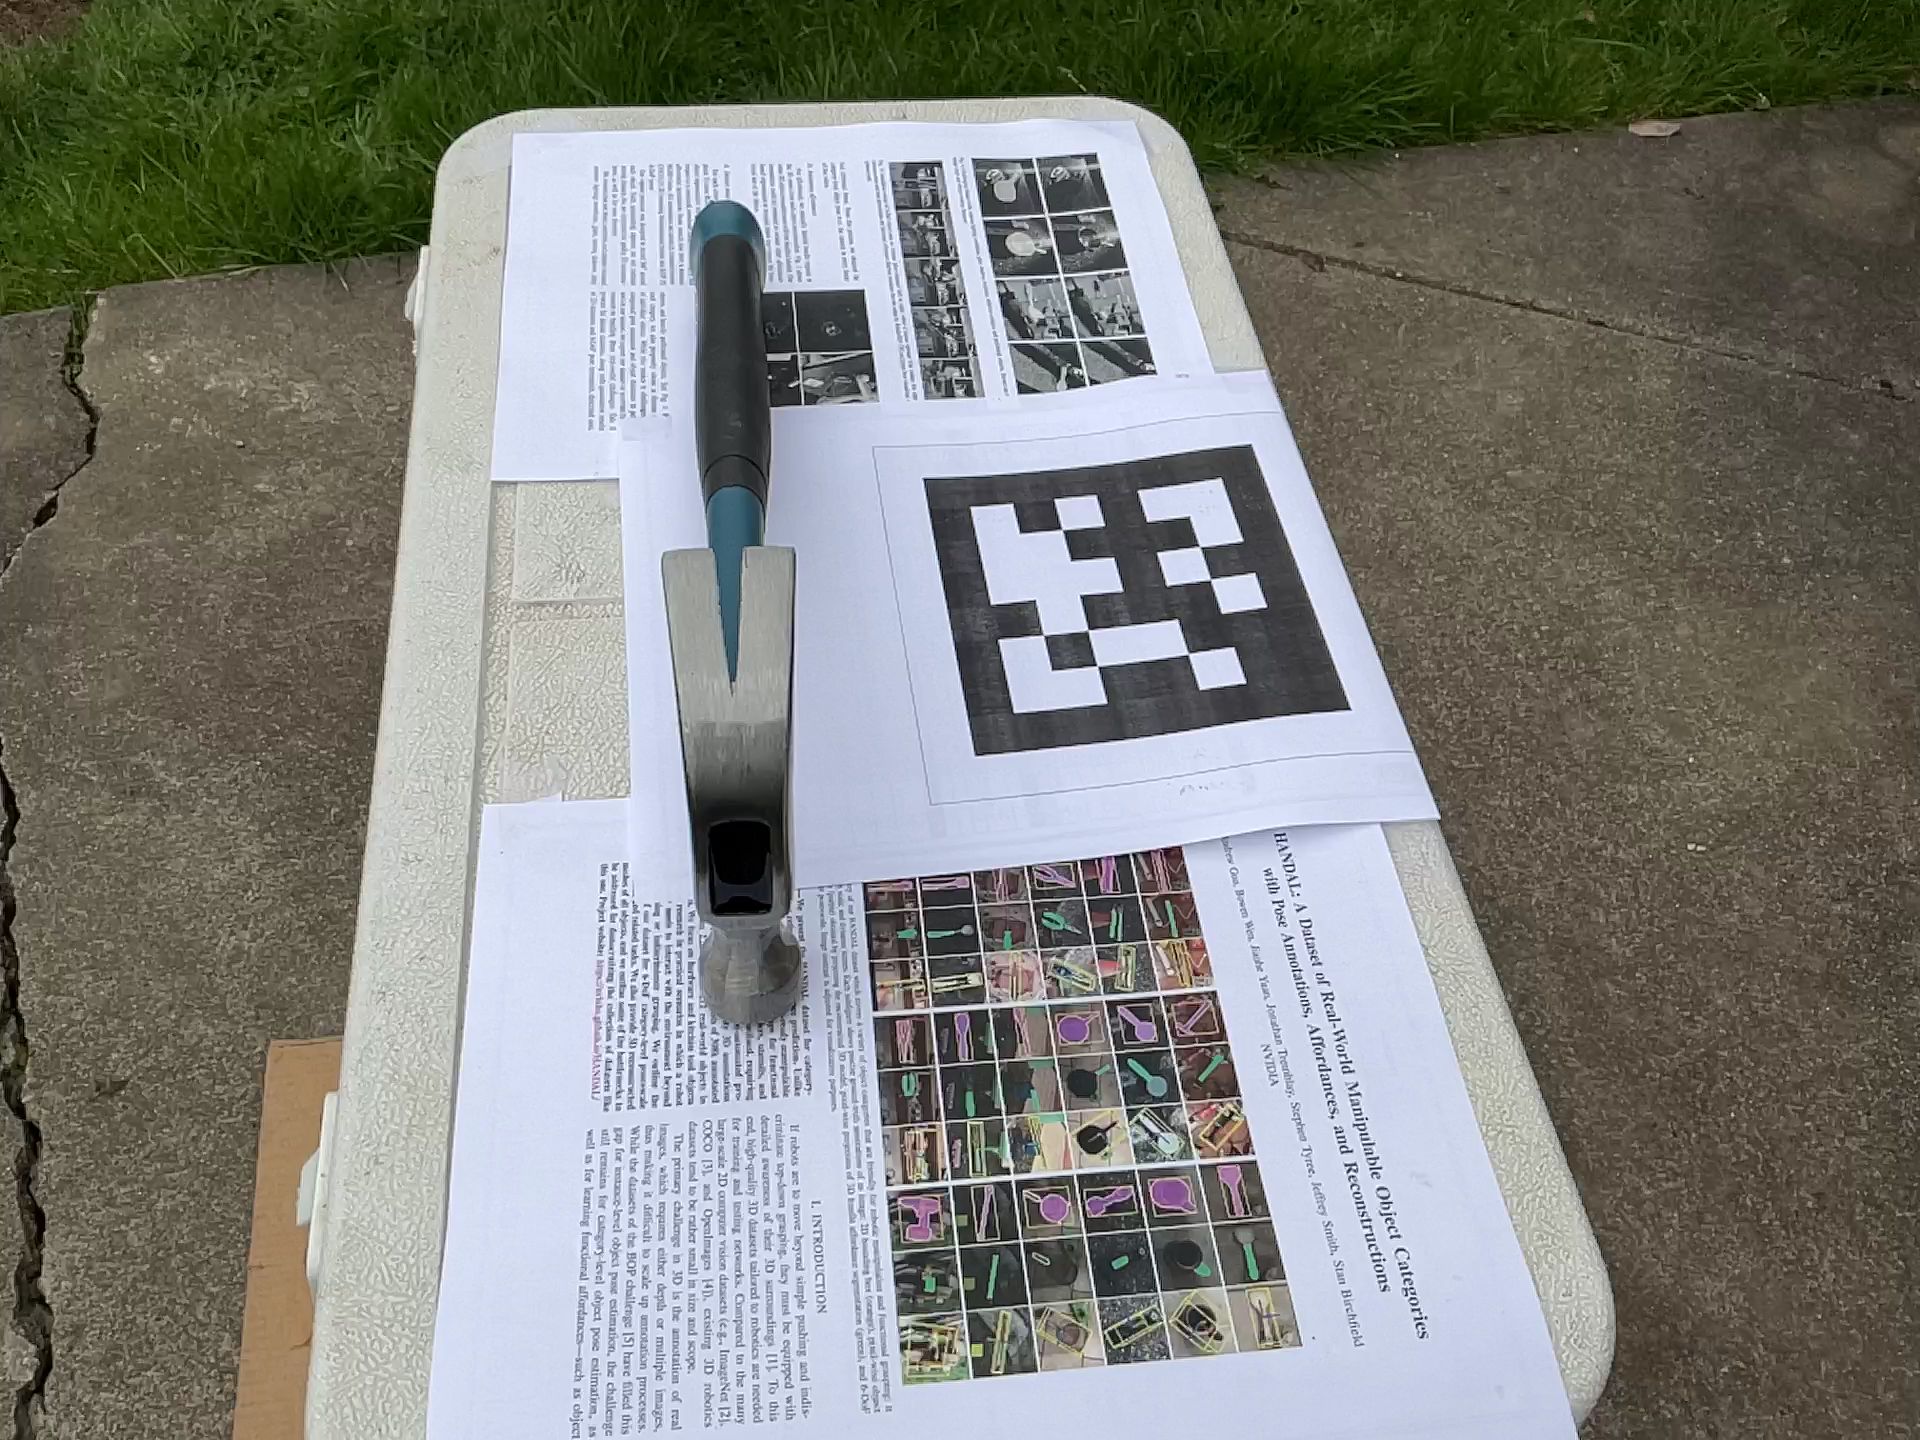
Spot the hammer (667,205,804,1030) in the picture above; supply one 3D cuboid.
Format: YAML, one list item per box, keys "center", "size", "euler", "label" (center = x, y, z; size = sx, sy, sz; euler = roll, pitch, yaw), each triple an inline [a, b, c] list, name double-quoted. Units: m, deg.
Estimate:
- center: [-0.074, -0.072, 0.522]
  size: [0.033, 0.128, 0.331]
  euler: [-2, 45, -7]
  label: "hammer"
